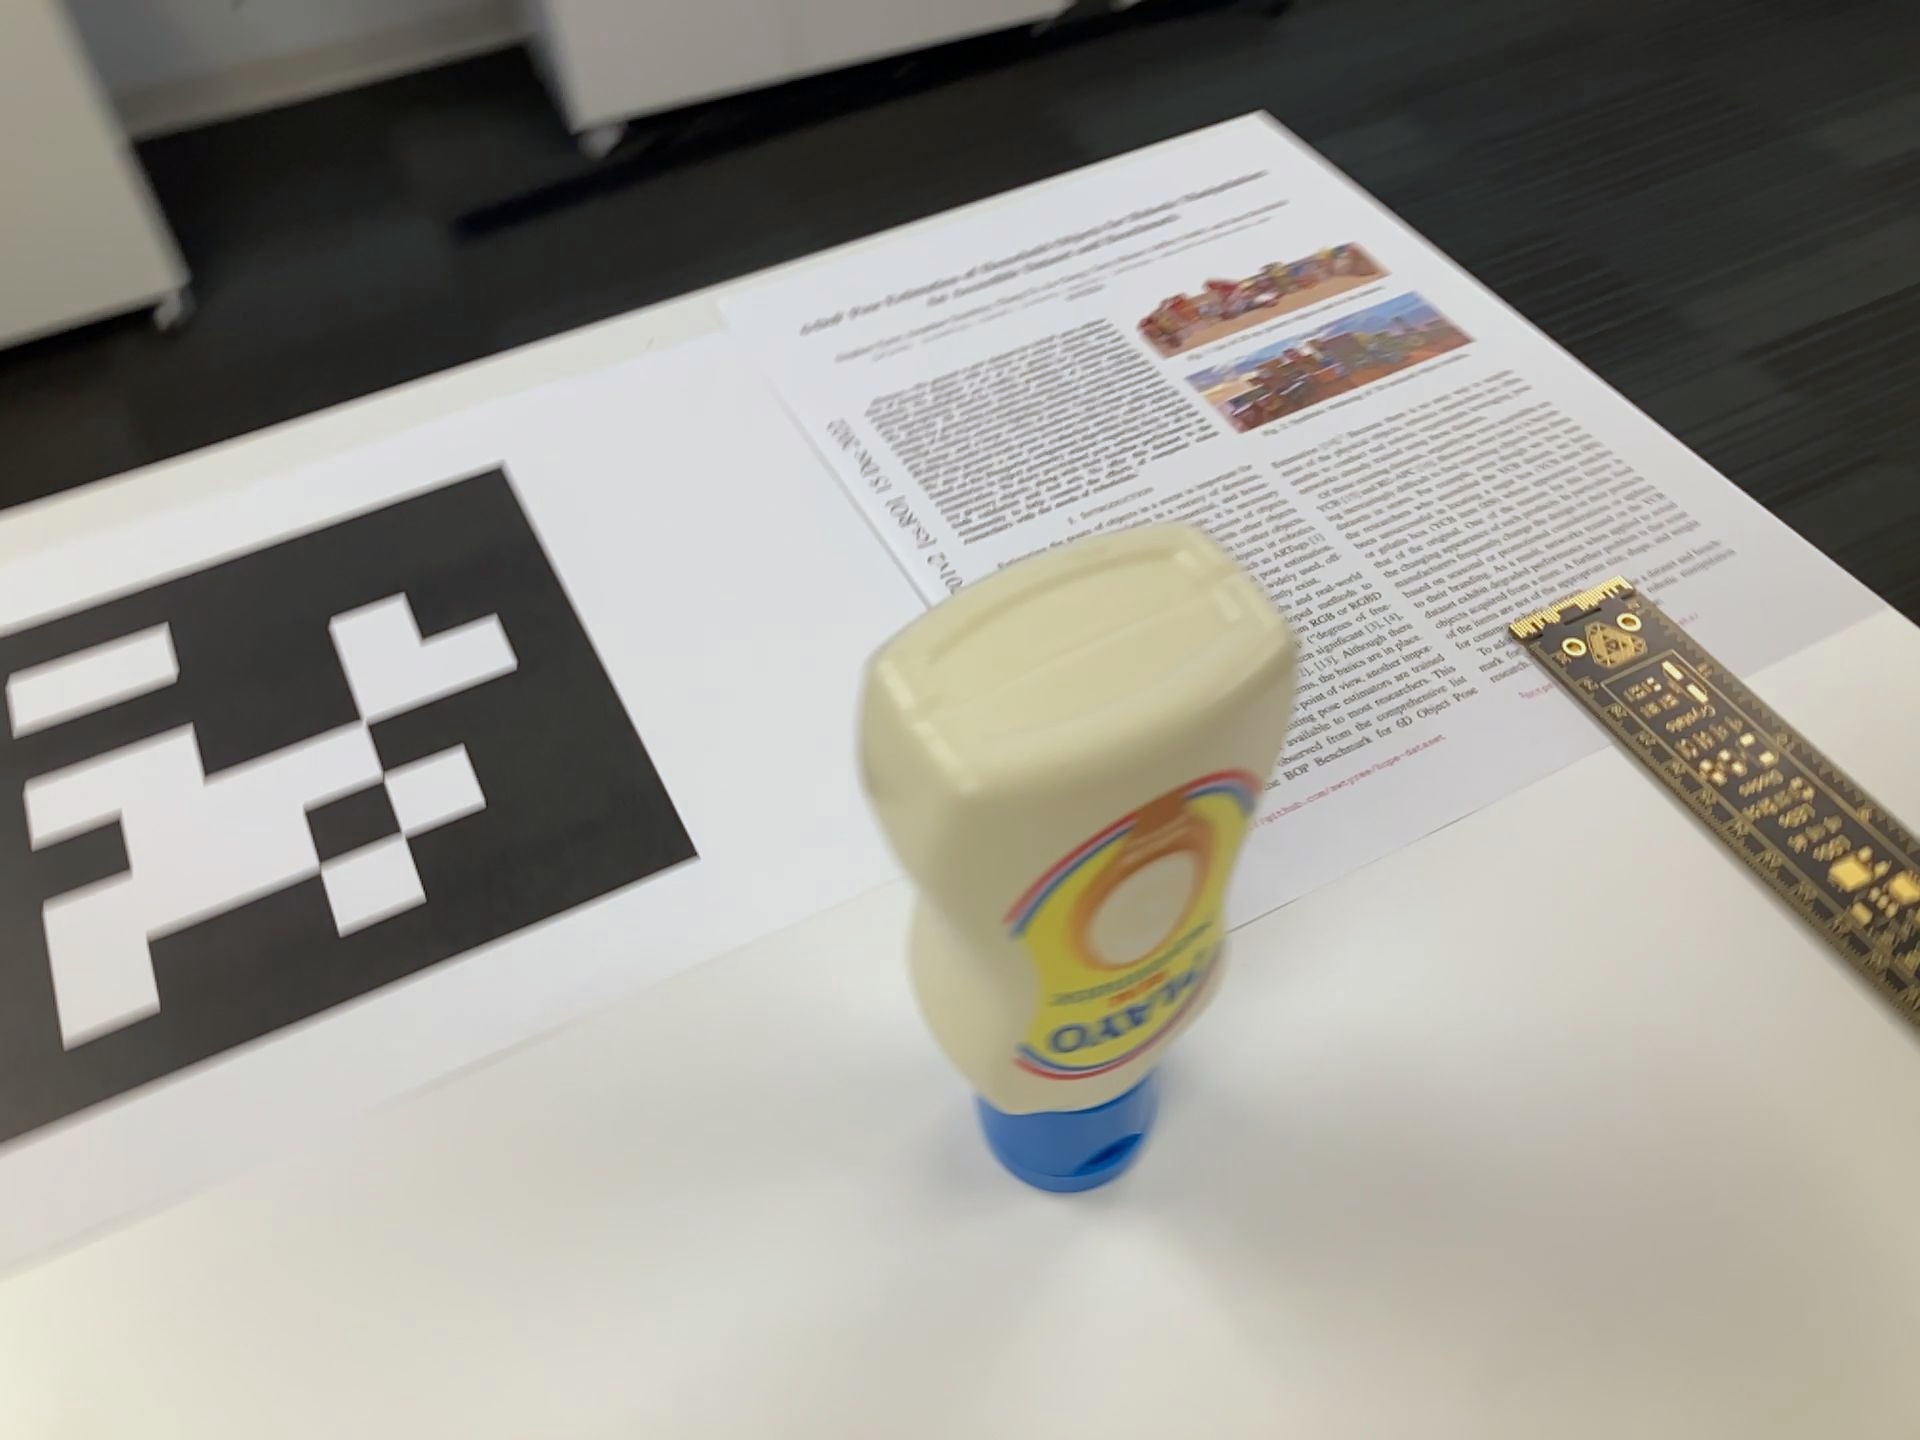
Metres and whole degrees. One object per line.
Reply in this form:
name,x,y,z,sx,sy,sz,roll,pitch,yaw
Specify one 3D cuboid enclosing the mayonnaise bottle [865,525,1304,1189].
mayonnaise bottle,0.020,0.035,0.277,0.065,0.148,0.041,-24,54,-16
